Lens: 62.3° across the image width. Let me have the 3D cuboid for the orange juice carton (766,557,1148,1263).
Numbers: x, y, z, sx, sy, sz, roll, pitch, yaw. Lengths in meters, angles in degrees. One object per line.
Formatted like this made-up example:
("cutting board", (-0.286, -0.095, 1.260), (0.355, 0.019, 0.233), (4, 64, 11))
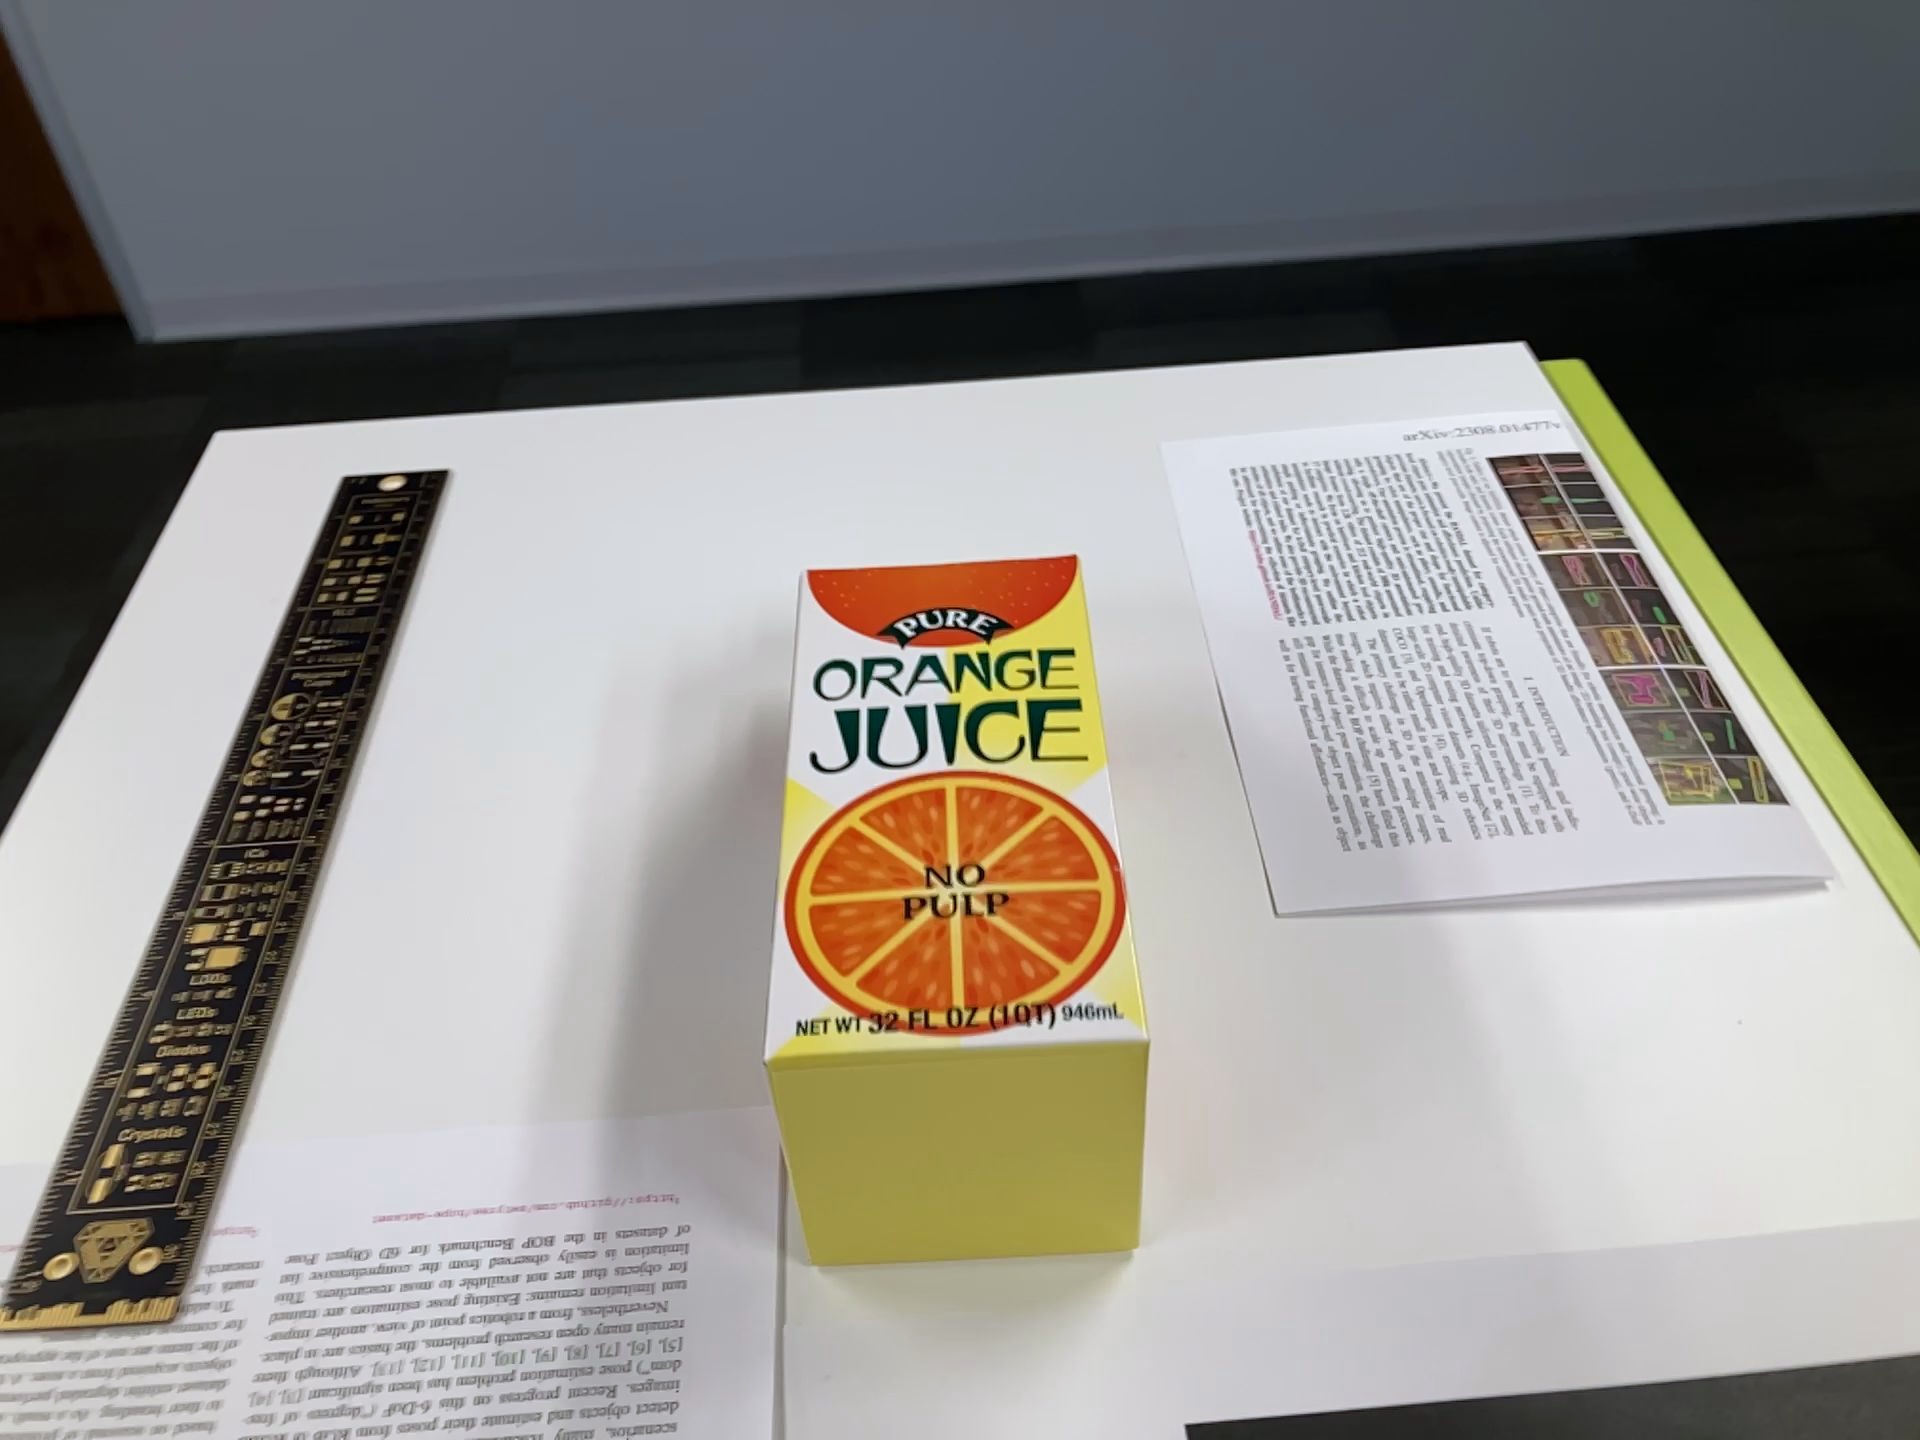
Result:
("orange juice carton", (-0.002, 0.023, 0.383), (0.072, 0.073, 0.192), (-3, 43, 1))
